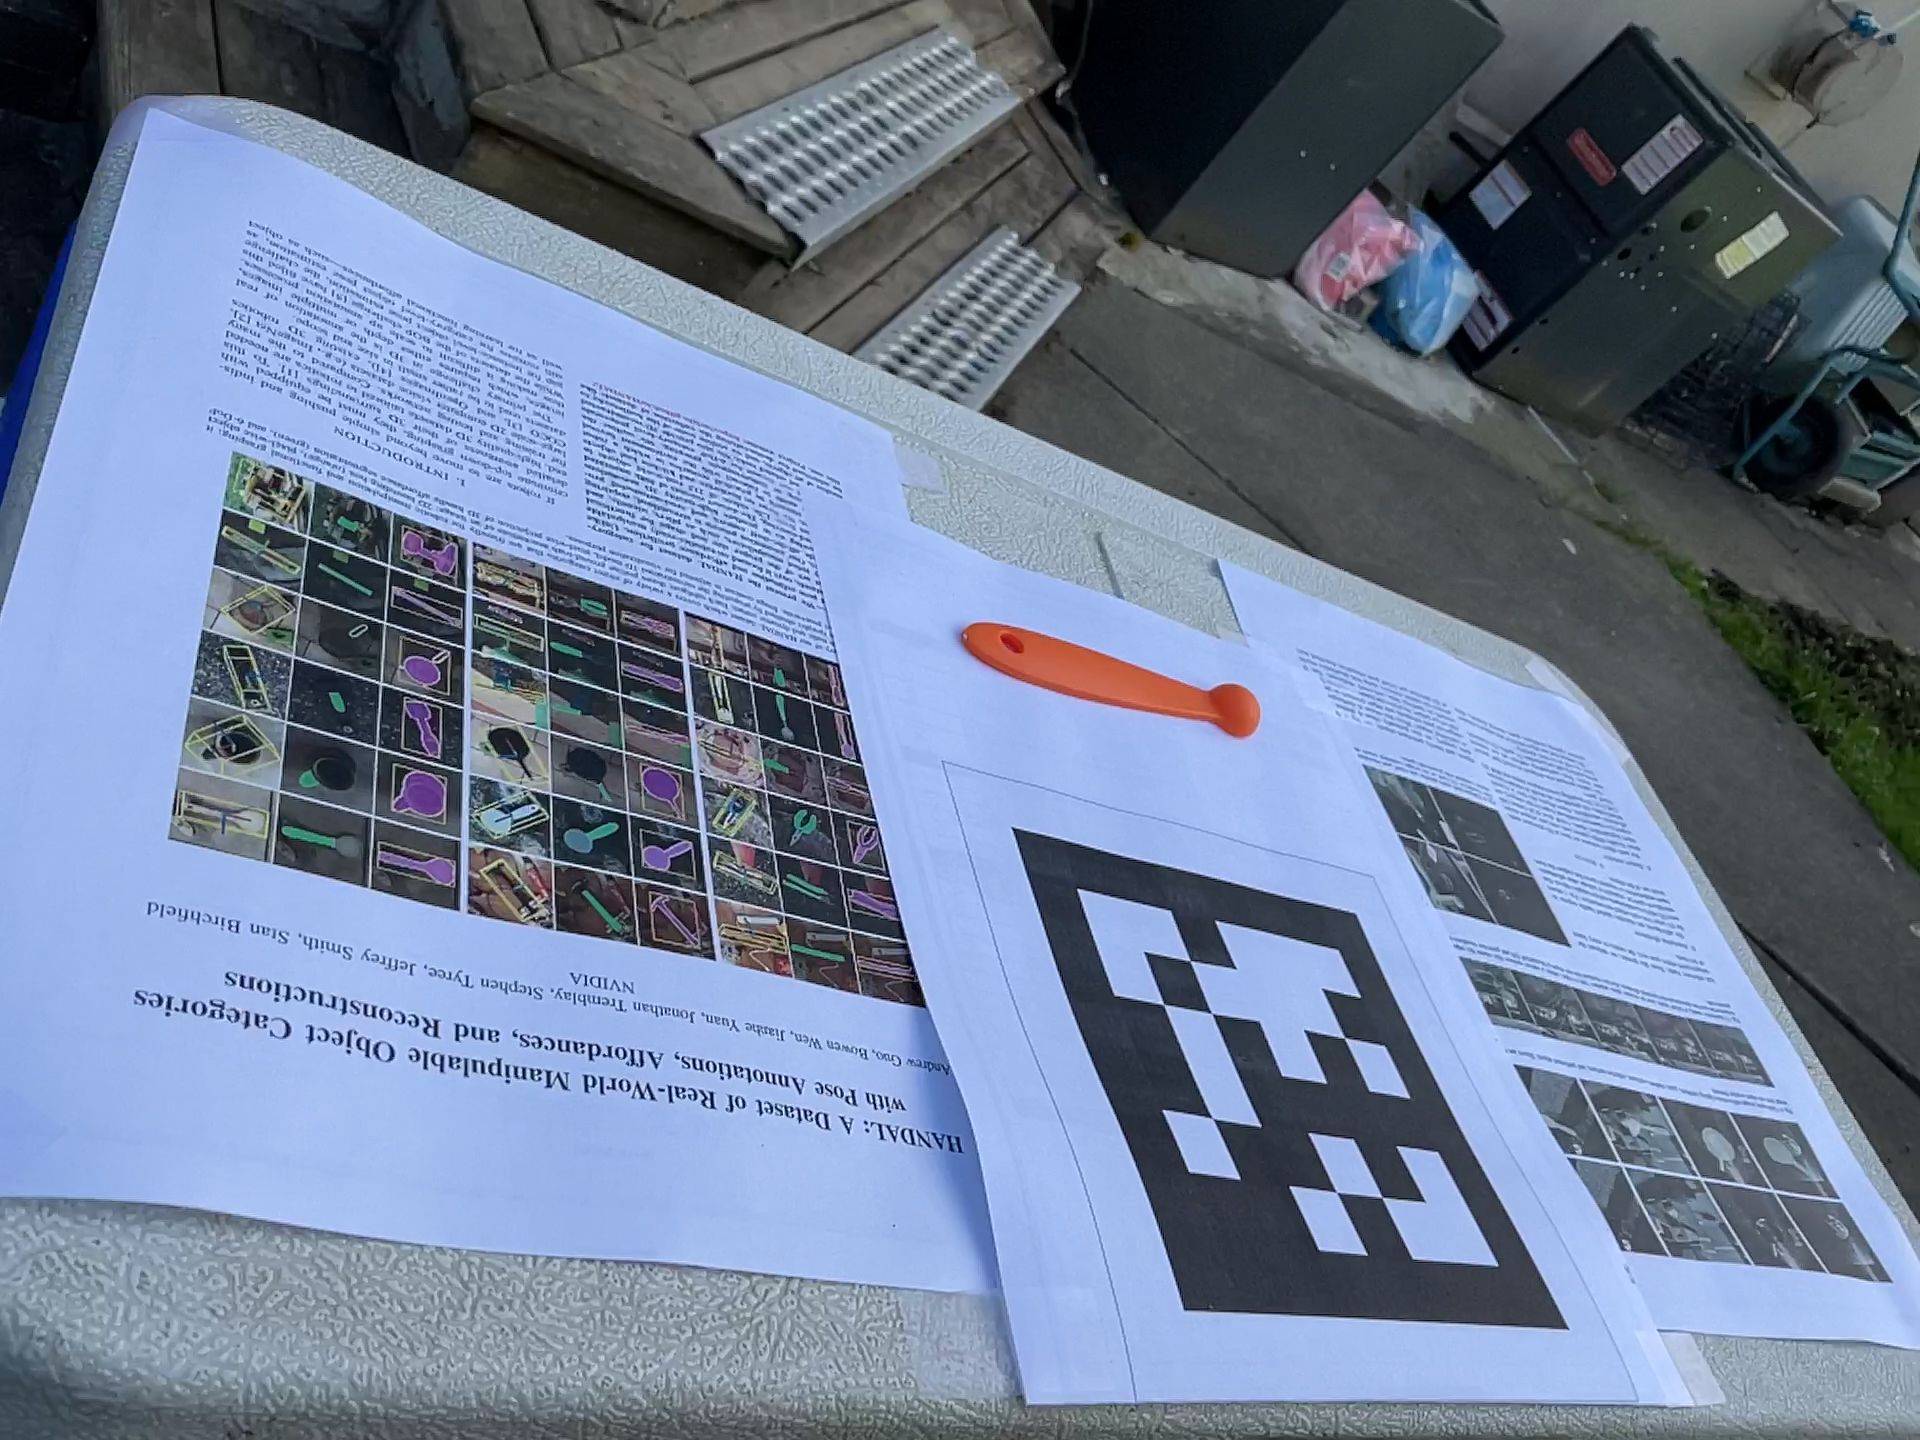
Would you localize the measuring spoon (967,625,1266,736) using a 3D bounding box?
[{"bbox_3d":[0.051,-0.014,0.482,0.117,0.011,0.021,13,38,-35],"label":"measuring spoon"}]
